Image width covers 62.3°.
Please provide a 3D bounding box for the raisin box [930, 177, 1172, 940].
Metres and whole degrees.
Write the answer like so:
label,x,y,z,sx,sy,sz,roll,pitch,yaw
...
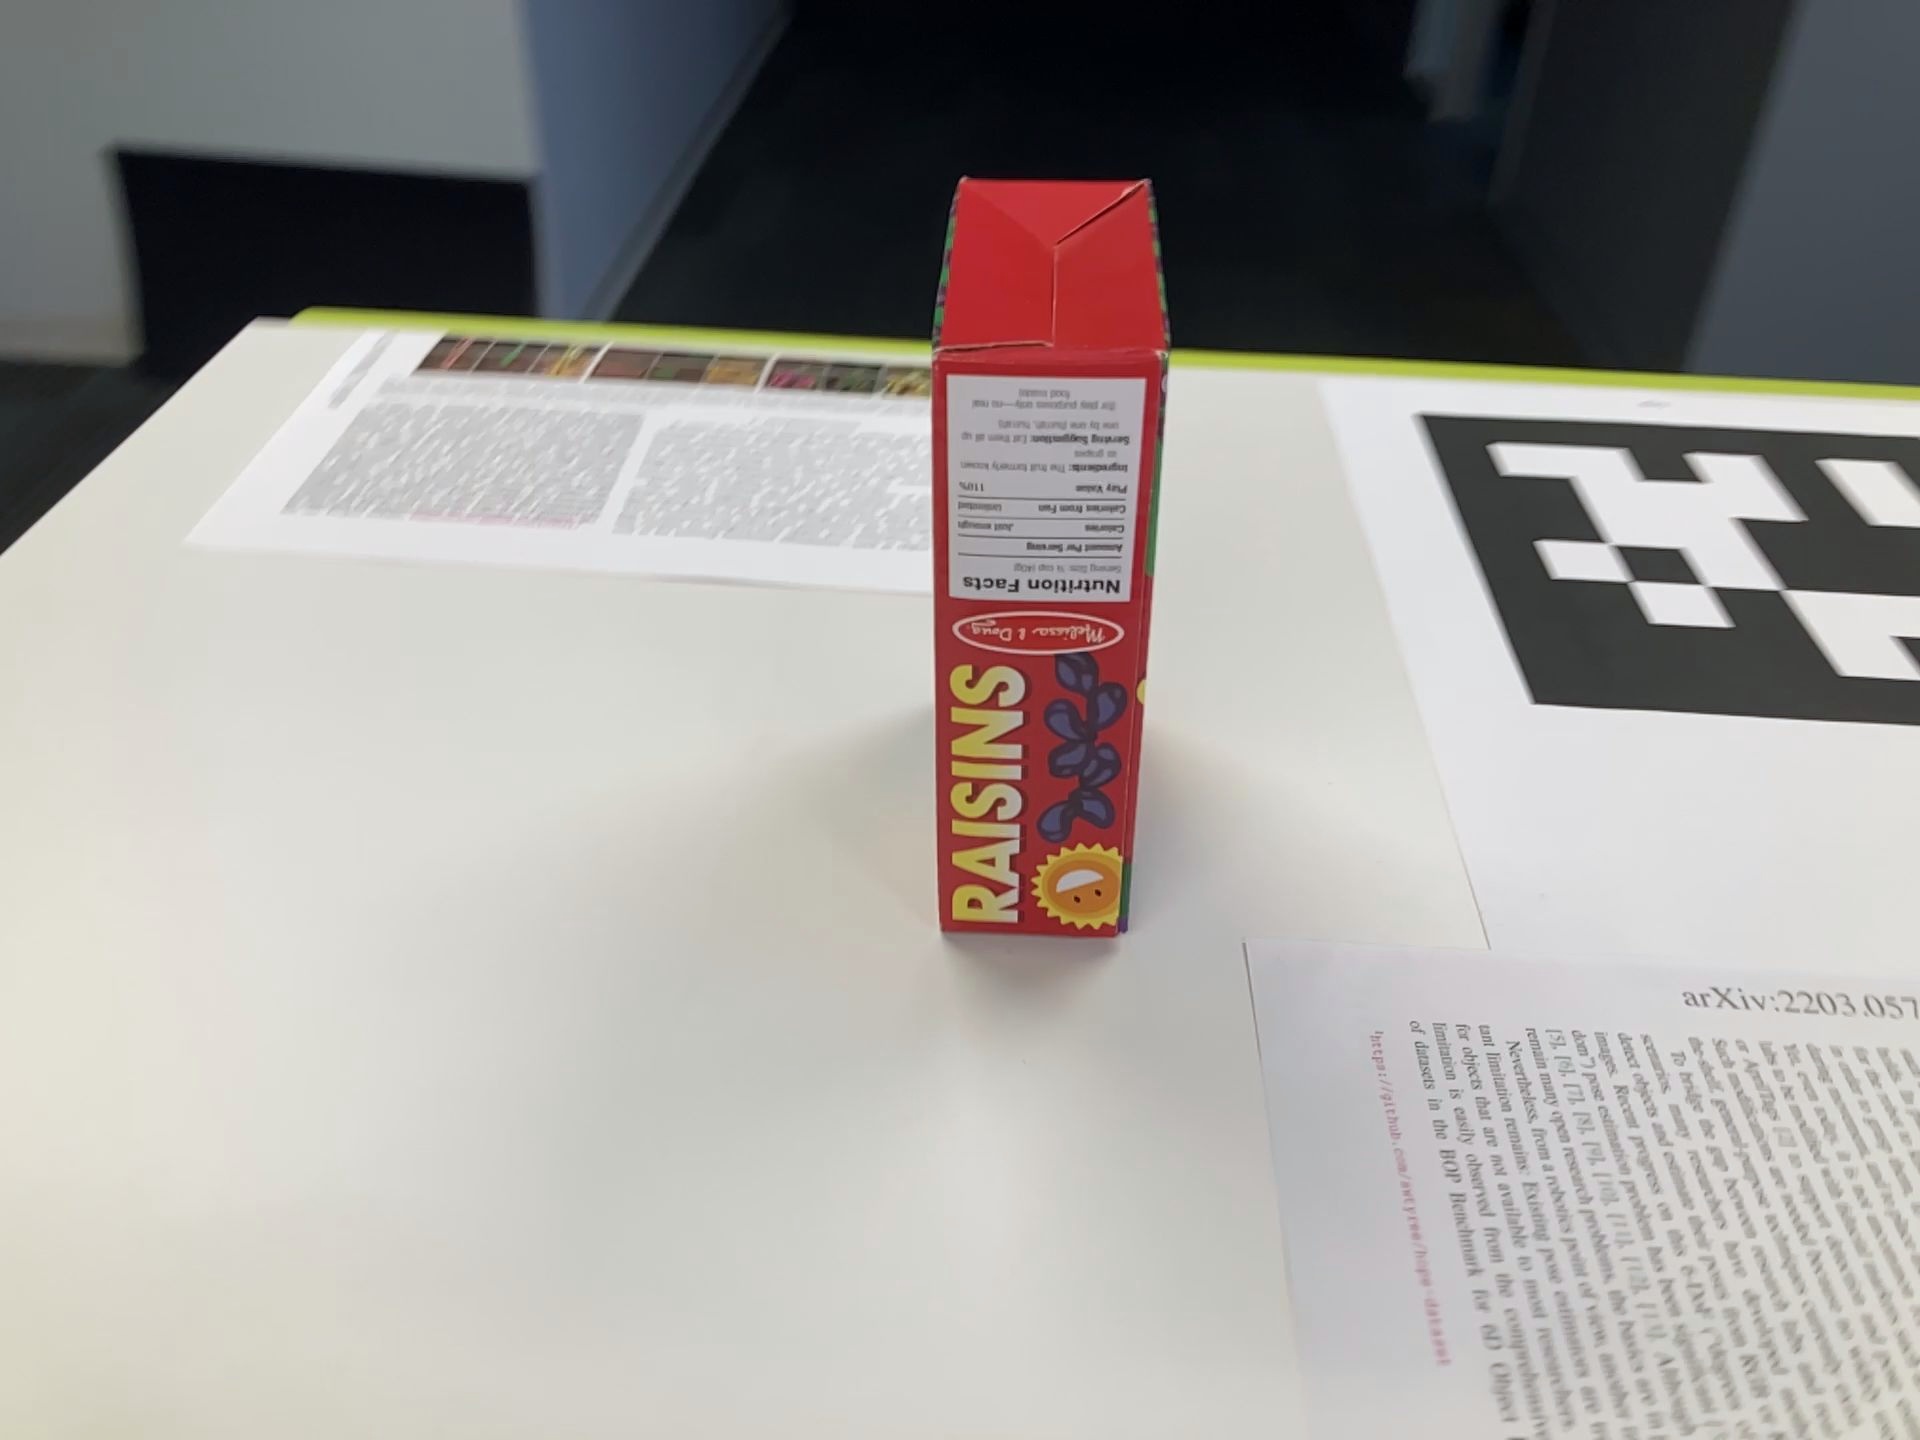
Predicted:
label,x,y,z,sx,sy,sz,roll,pitch,yaw
raisin box,0.017,-0.031,0.307,0.040,0.123,0.086,1,36,2
